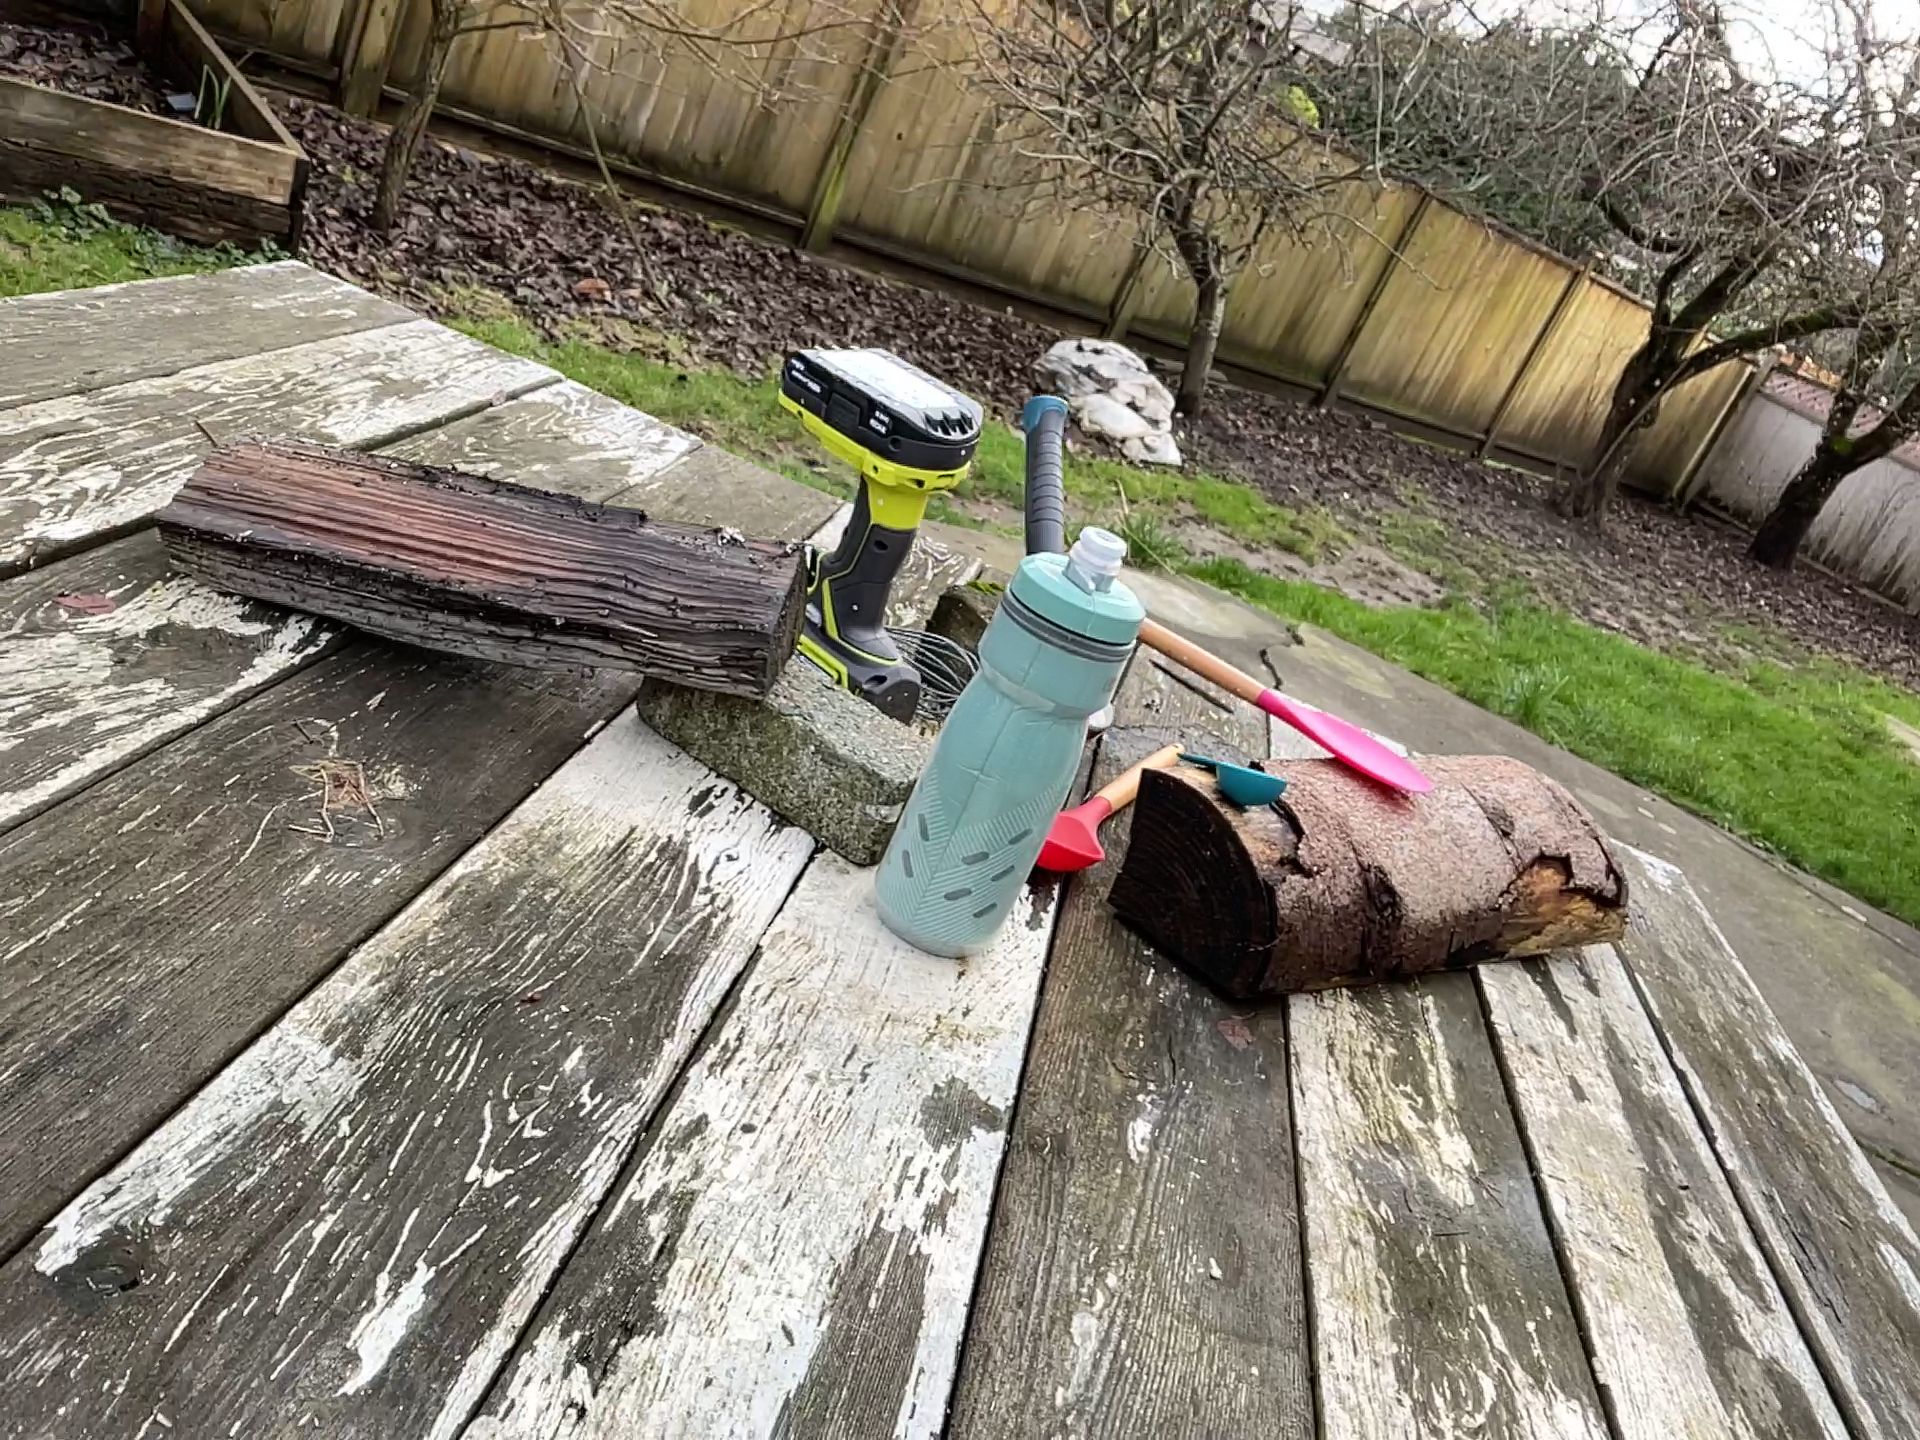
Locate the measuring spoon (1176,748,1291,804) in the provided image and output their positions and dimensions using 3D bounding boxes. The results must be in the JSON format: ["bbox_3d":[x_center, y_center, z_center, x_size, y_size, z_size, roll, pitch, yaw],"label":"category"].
[{"bbox_3d":[0.159,0.034,0.972,0.042,0.021,0.129,17,1,-16],"label":"measuring spoon"}]

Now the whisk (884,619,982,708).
[{"bbox_3d":[-0.074,-0.073,1.156,0.239,0.055,0.055,33,15,32],"label":"whisk"}]

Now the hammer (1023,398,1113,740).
[{"bbox_3d":[0.061,-0.103,1.135,0.033,0.128,0.331,17,54,-22],"label":"hammer"}]

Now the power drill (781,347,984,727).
[{"bbox_3d":[-0.078,-0.120,1.036,0.171,0.223,0.080,36,32,32],"label":"power drill"}]

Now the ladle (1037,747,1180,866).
[{"bbox_3d":[0.104,0.051,1.088,0.069,0.031,0.315,28,19,17],"label":"ladle"}]

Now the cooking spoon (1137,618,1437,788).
[{"bbox_3d":[0.201,-0.026,1.147,0.319,0.017,0.068,34,24,35],"label":"cooking spoon"}]
